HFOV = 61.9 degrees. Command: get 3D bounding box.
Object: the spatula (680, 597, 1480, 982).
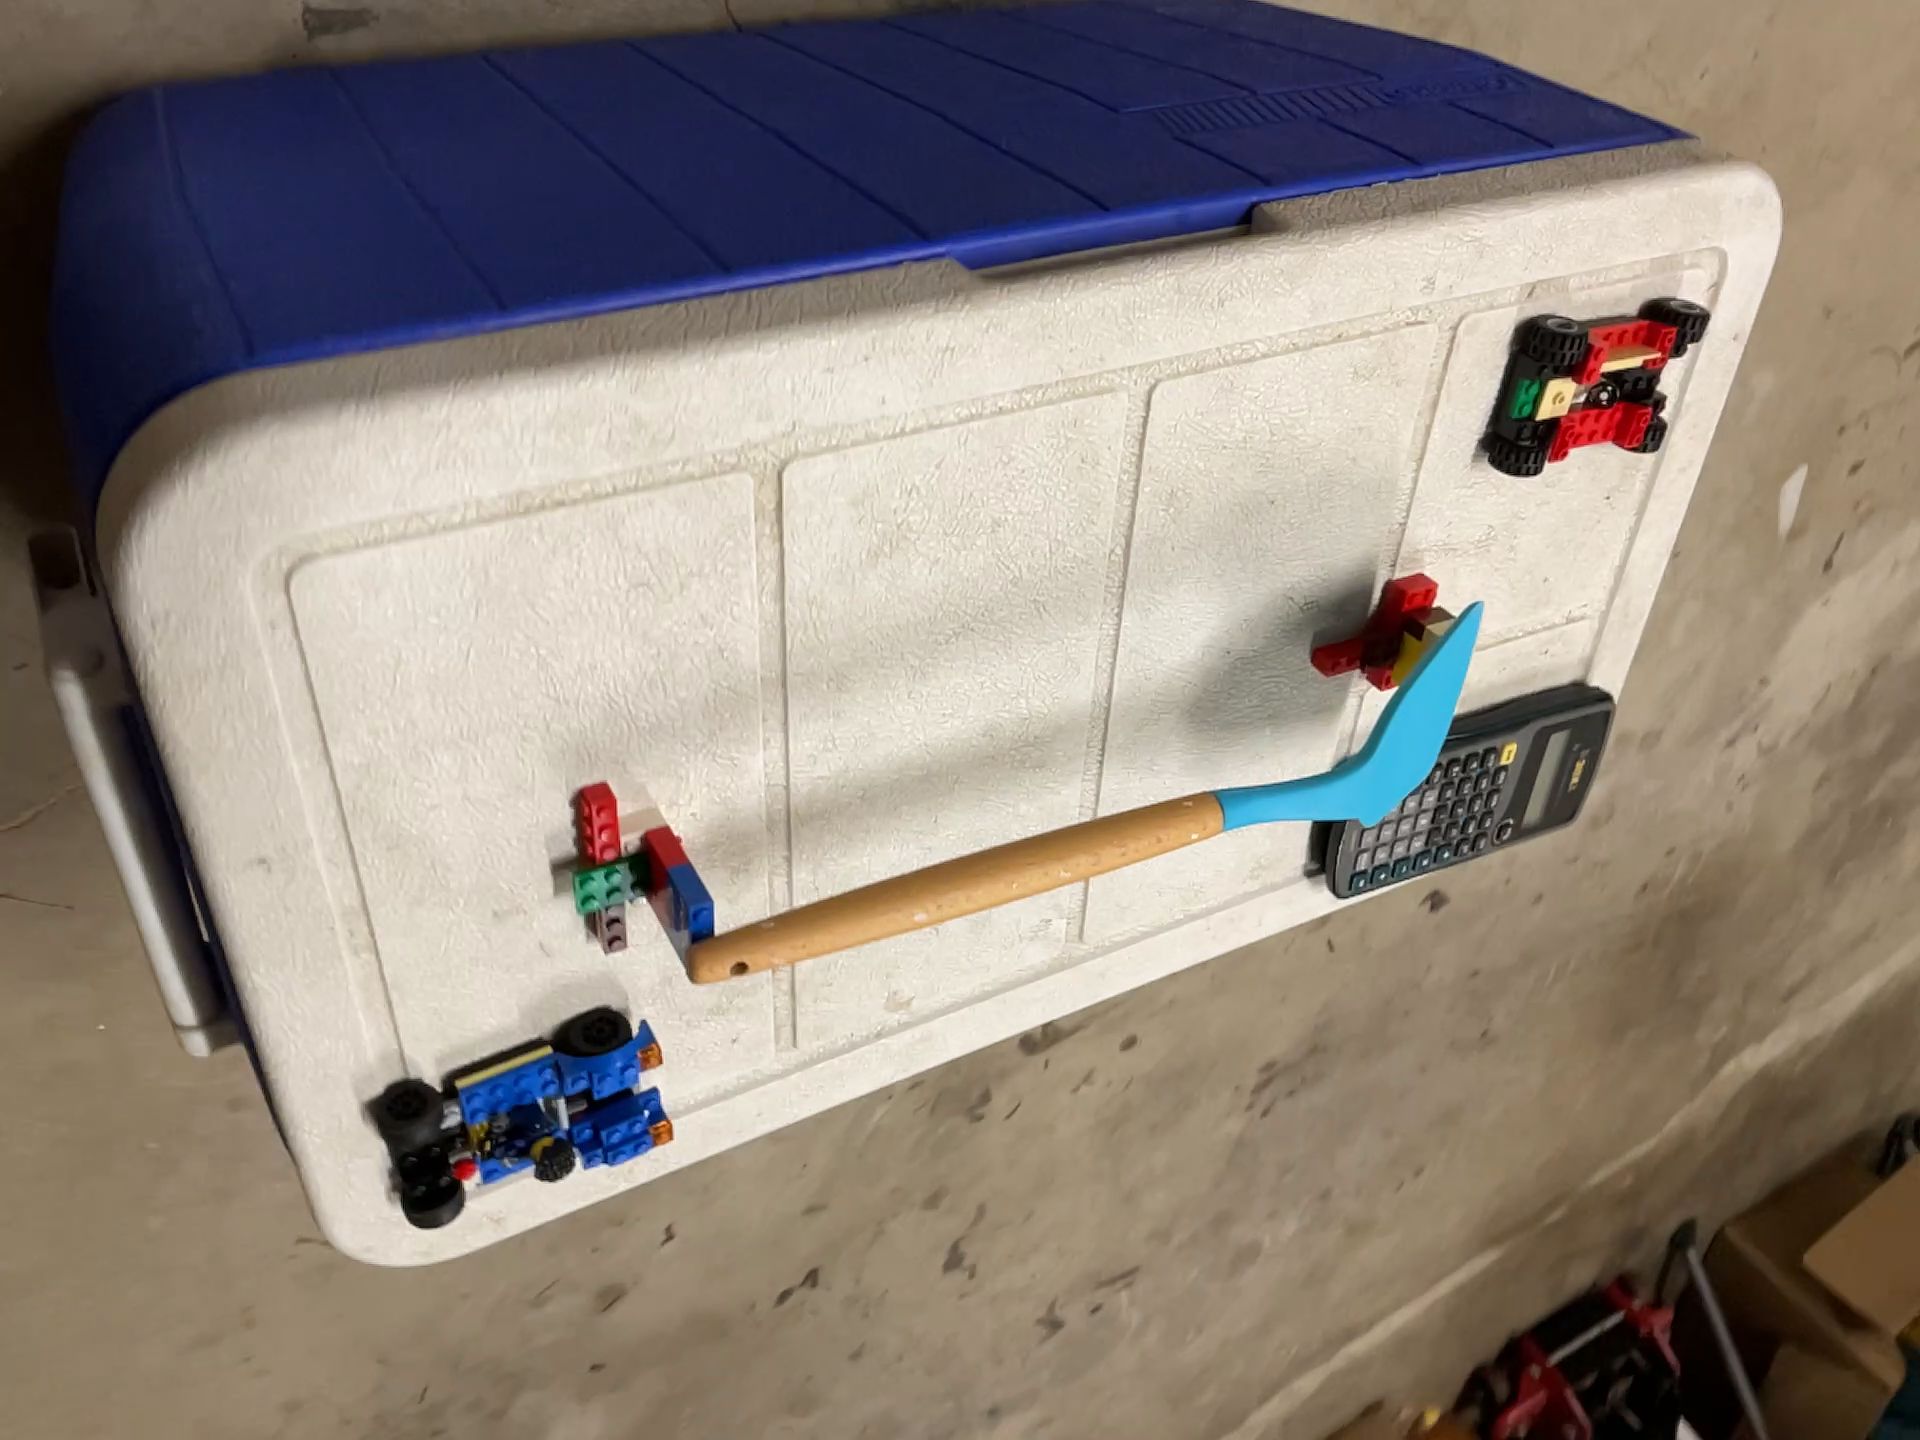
[{"bbox_3d":[0.057,0.032,0.541,0.318,0.044,0.082,-14,131,-21],"label":"spatula"}]
